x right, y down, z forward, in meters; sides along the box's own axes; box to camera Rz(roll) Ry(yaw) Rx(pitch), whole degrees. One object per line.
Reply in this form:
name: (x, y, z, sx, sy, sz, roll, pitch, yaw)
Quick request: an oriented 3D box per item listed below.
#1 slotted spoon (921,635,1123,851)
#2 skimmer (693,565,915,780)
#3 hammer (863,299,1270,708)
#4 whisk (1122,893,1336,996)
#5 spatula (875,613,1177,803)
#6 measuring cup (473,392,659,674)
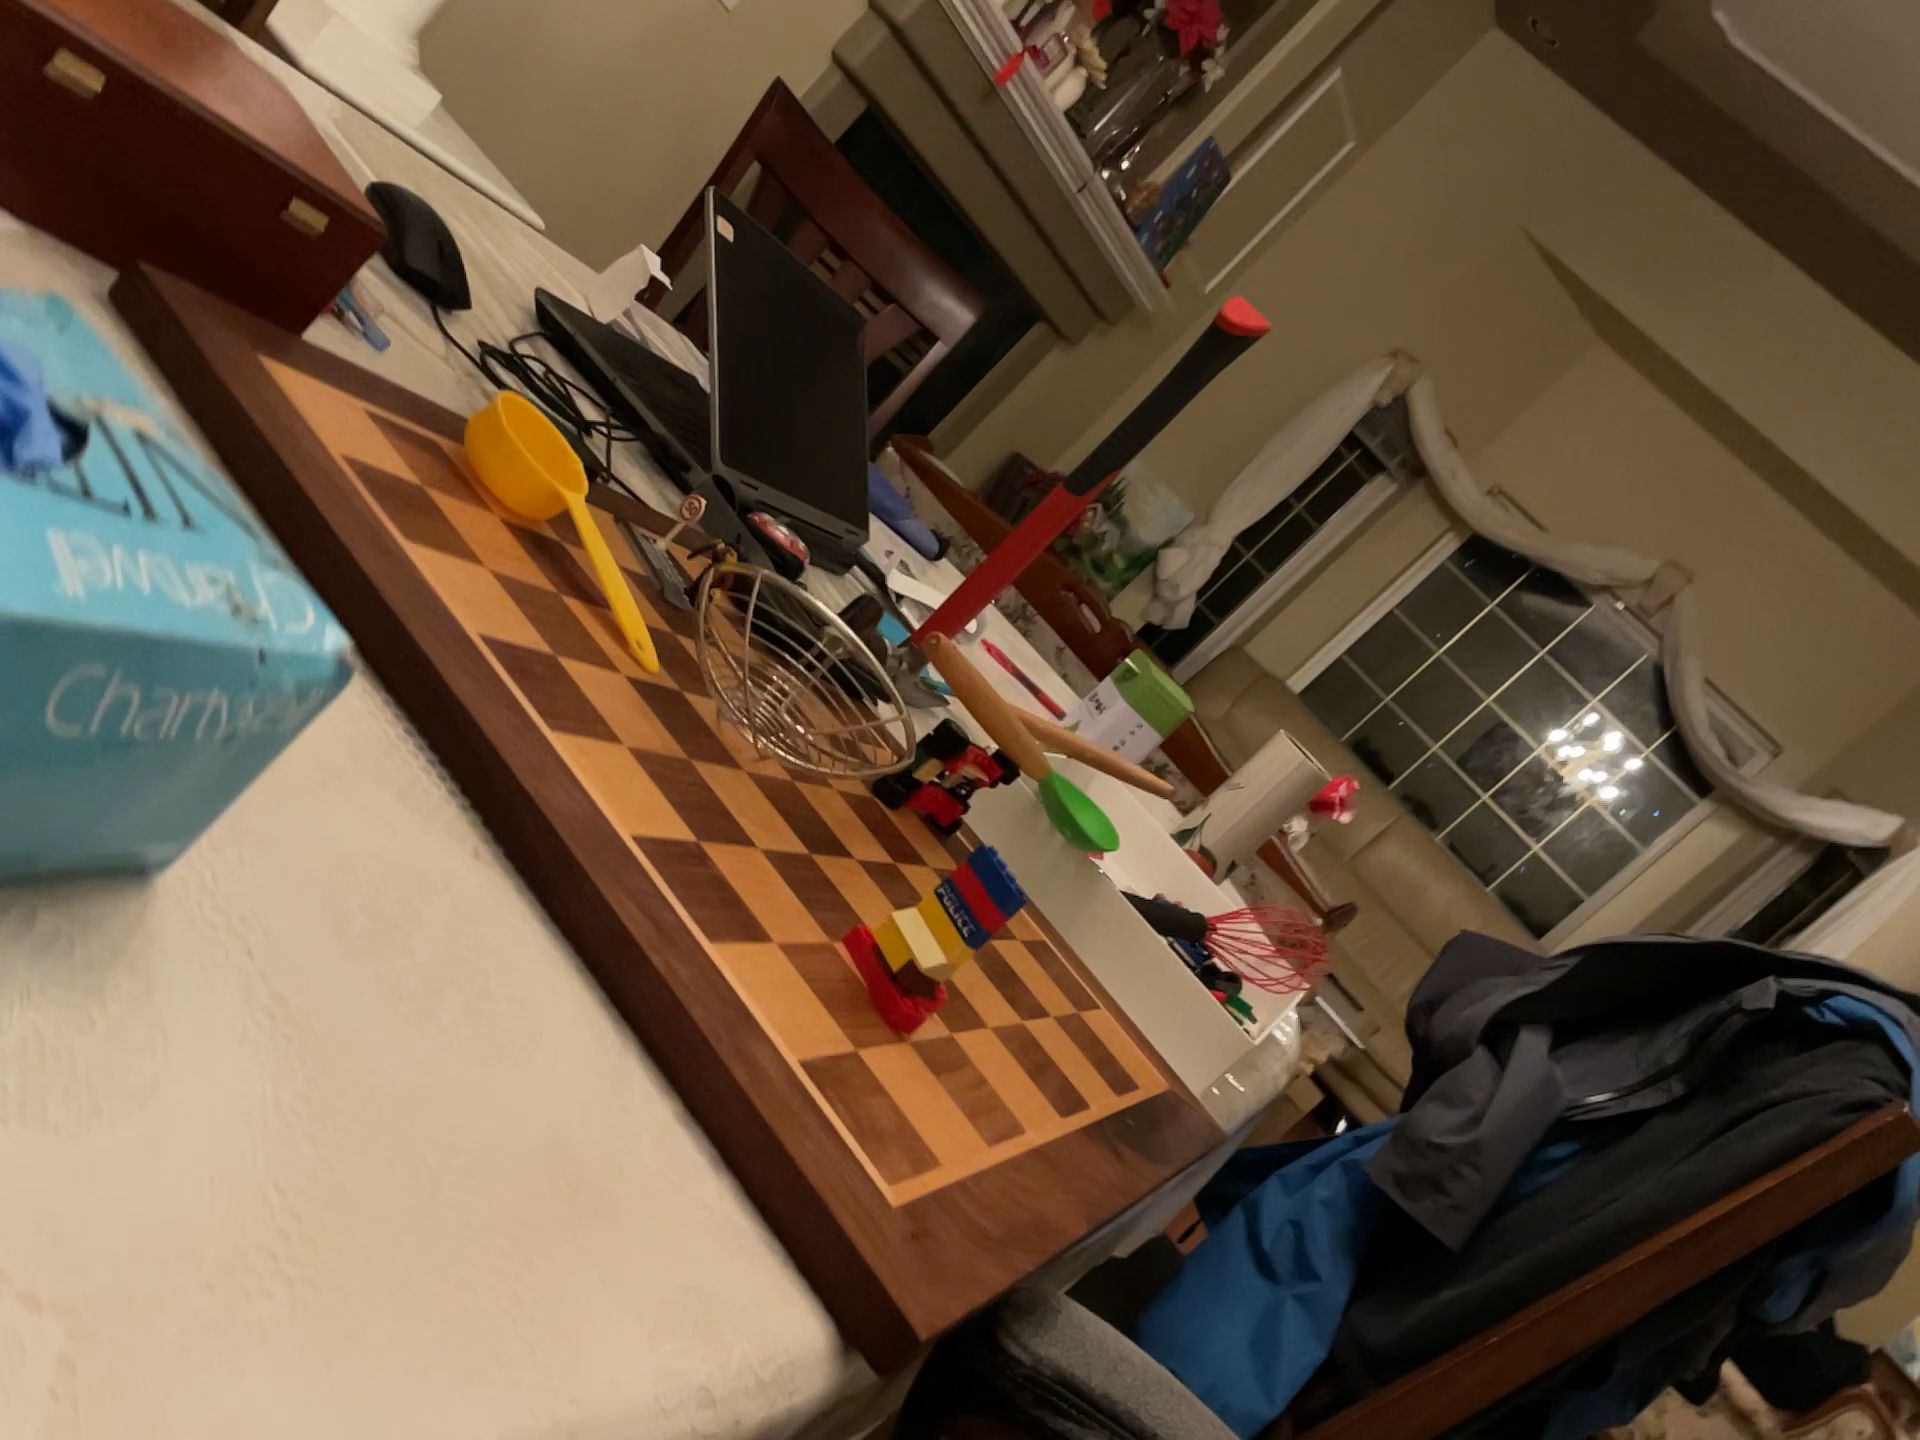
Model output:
slotted spoon: (0.037, 0.018, 0.915, 0.070, 0.031, 0.313, 53, 3, 28)
skimmer: (-0.059, -0.049, 0.861, 0.127, 0.090, 0.363, 43, 14, -4)
hammer: (0.082, -0.156, 1.188, 0.038, 0.386, 0.143, 50, 10, 21)
whisk: (0.194, 0.166, 1.230, 0.295, 0.073, 0.073, 18, 7, -40)
spatula: (0.043, -0.015, 1.299, 0.318, 0.044, 0.082, 27, 0, 26)
measuring cup: (-0.181, -0.082, 0.735, 0.157, 0.029, 0.062, 62, 11, 16)
